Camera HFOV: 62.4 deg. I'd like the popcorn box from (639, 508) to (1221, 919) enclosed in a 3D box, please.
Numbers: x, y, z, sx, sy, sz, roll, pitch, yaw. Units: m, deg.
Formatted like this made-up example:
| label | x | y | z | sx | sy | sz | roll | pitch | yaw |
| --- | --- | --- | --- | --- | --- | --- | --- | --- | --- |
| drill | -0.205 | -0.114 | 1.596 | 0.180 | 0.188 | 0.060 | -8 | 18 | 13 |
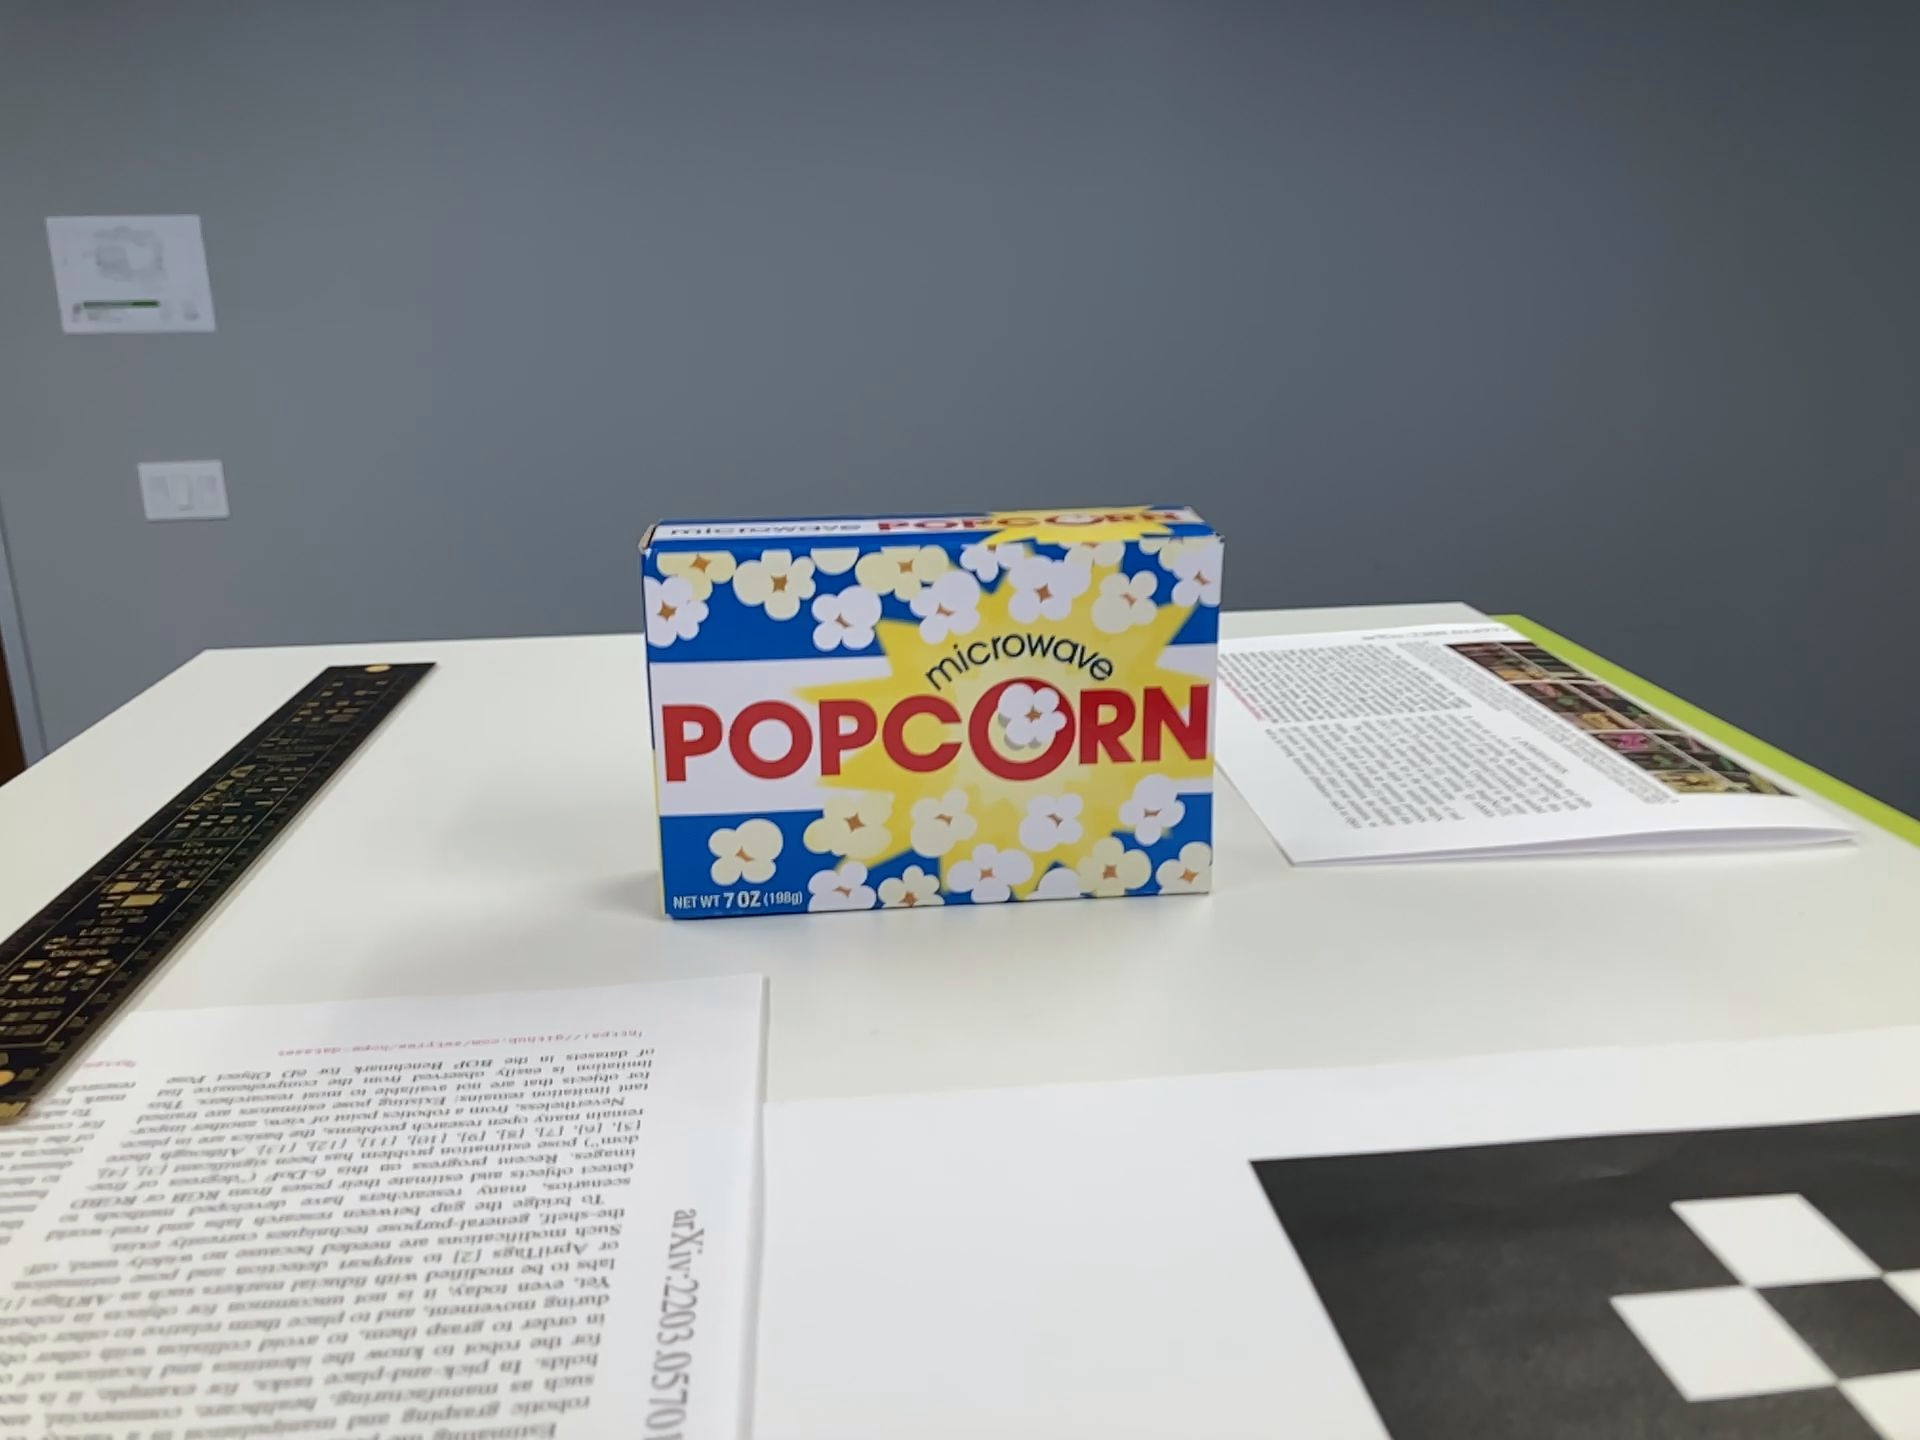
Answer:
| label | x | y | z | sx | sy | sz | roll | pitch | yaw |
| --- | --- | --- | --- | --- | --- | --- | --- | --- | --- |
| popcorn box | -0.006 | -0.003 | 0.364 | 0.126 | 0.085 | 0.038 | -2 | 16 | -5 |
